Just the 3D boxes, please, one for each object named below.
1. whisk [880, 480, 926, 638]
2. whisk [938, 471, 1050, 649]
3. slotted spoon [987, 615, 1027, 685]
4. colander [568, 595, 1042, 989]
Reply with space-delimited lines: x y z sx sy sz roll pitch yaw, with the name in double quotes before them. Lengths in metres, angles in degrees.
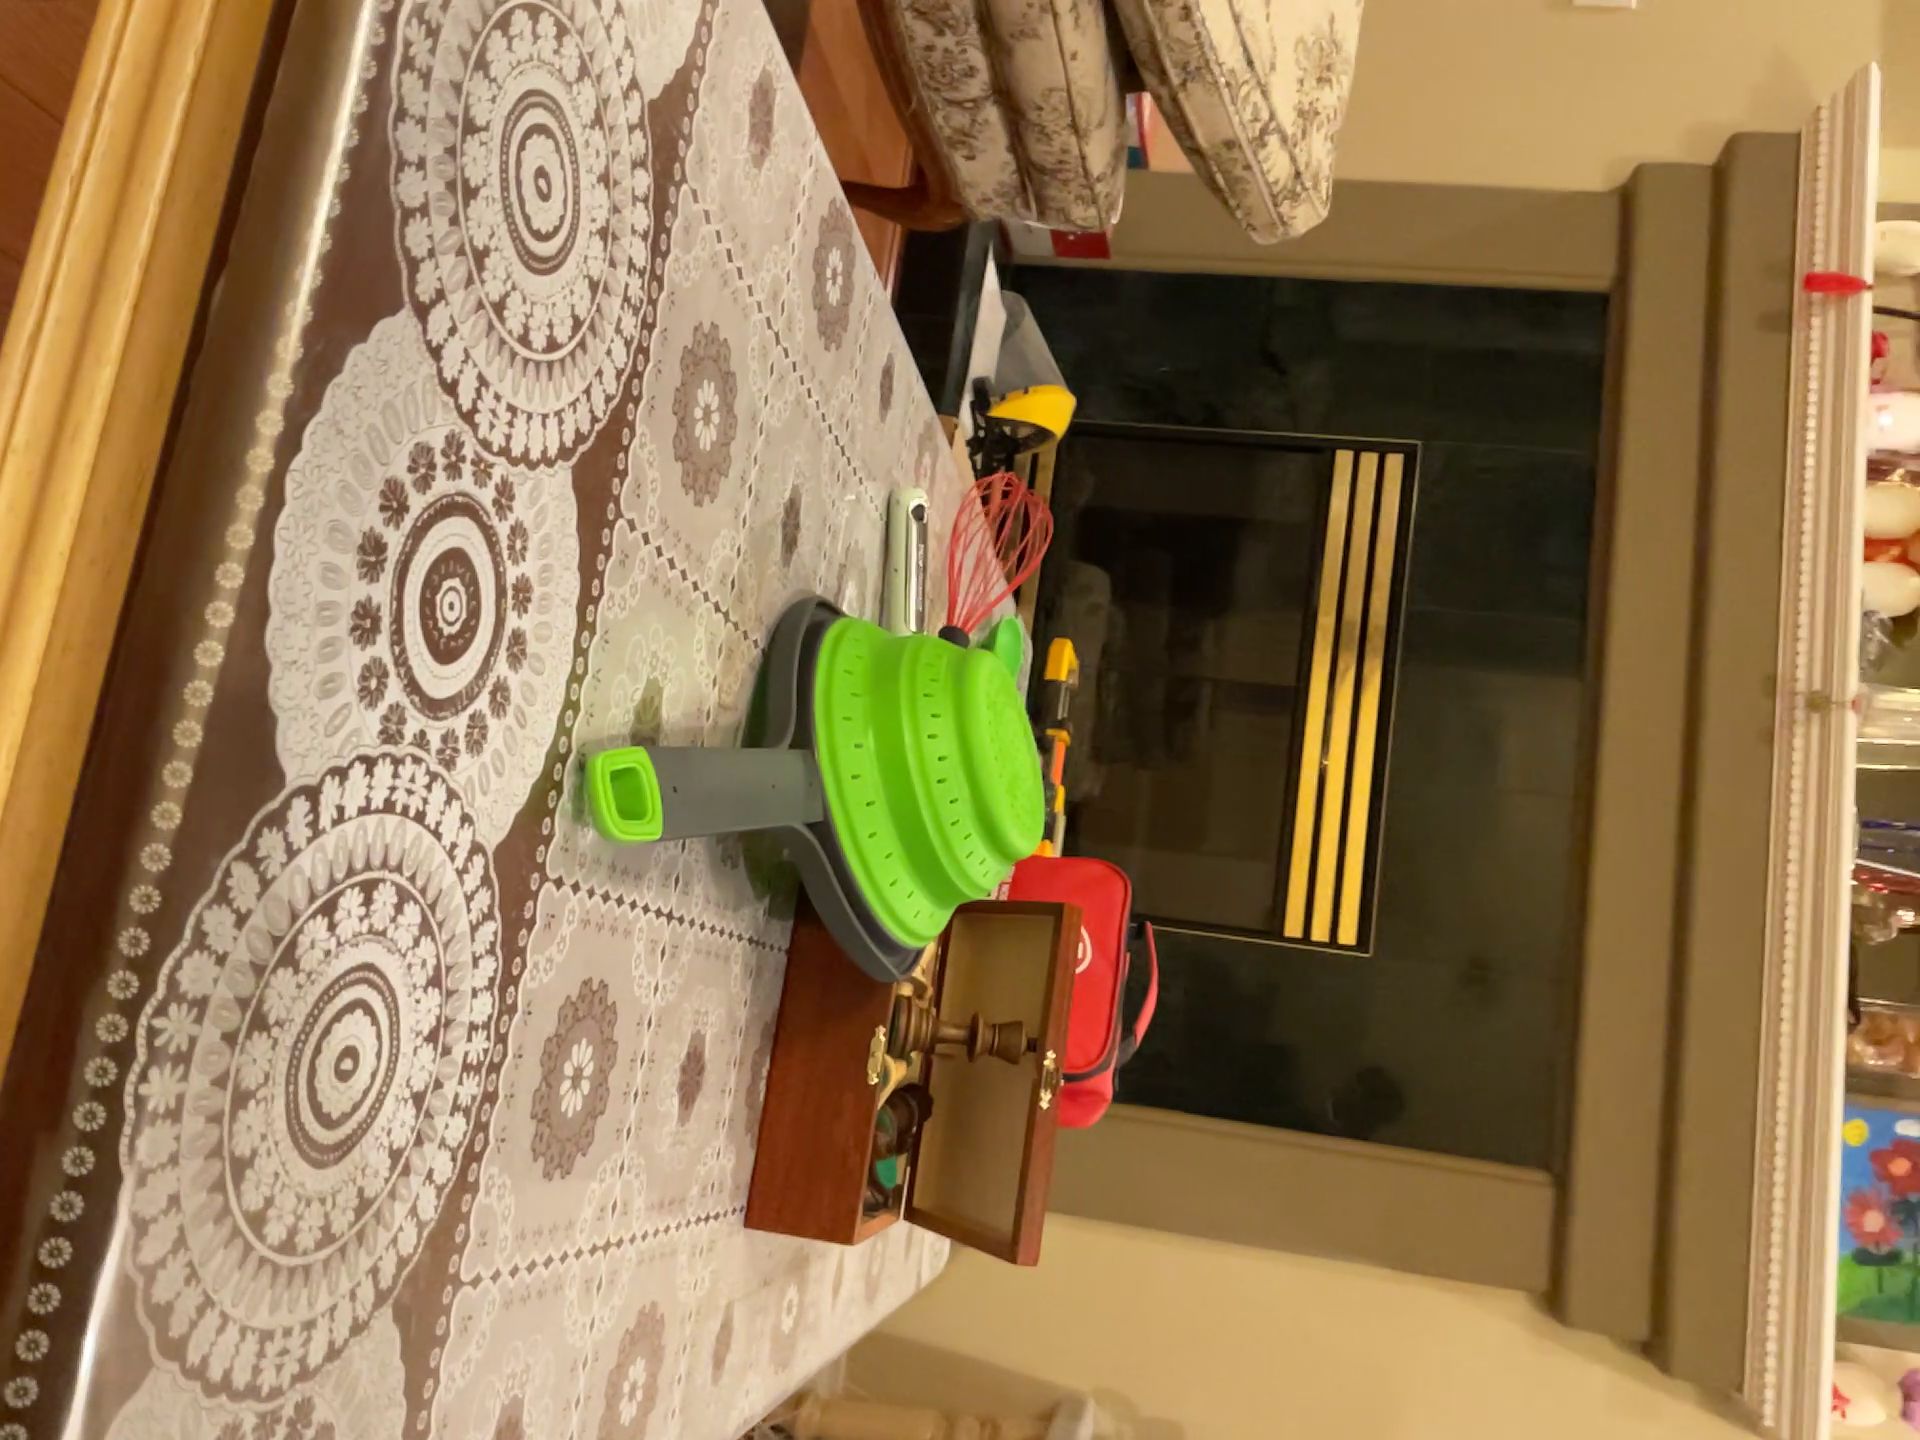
"whisk" -0.040 -0.024 0.985 0.058 0.059 0.246 15 -76 58
"whisk" 0.003 -0.072 1.136 0.073 0.073 0.296 94 15 -52
"slotted spoon" 0.021 -0.043 1.261 0.314 0.031 0.070 -38 134 -79
"colander" -0.041 0.024 0.726 0.397 0.094 0.204 6 71 -73
